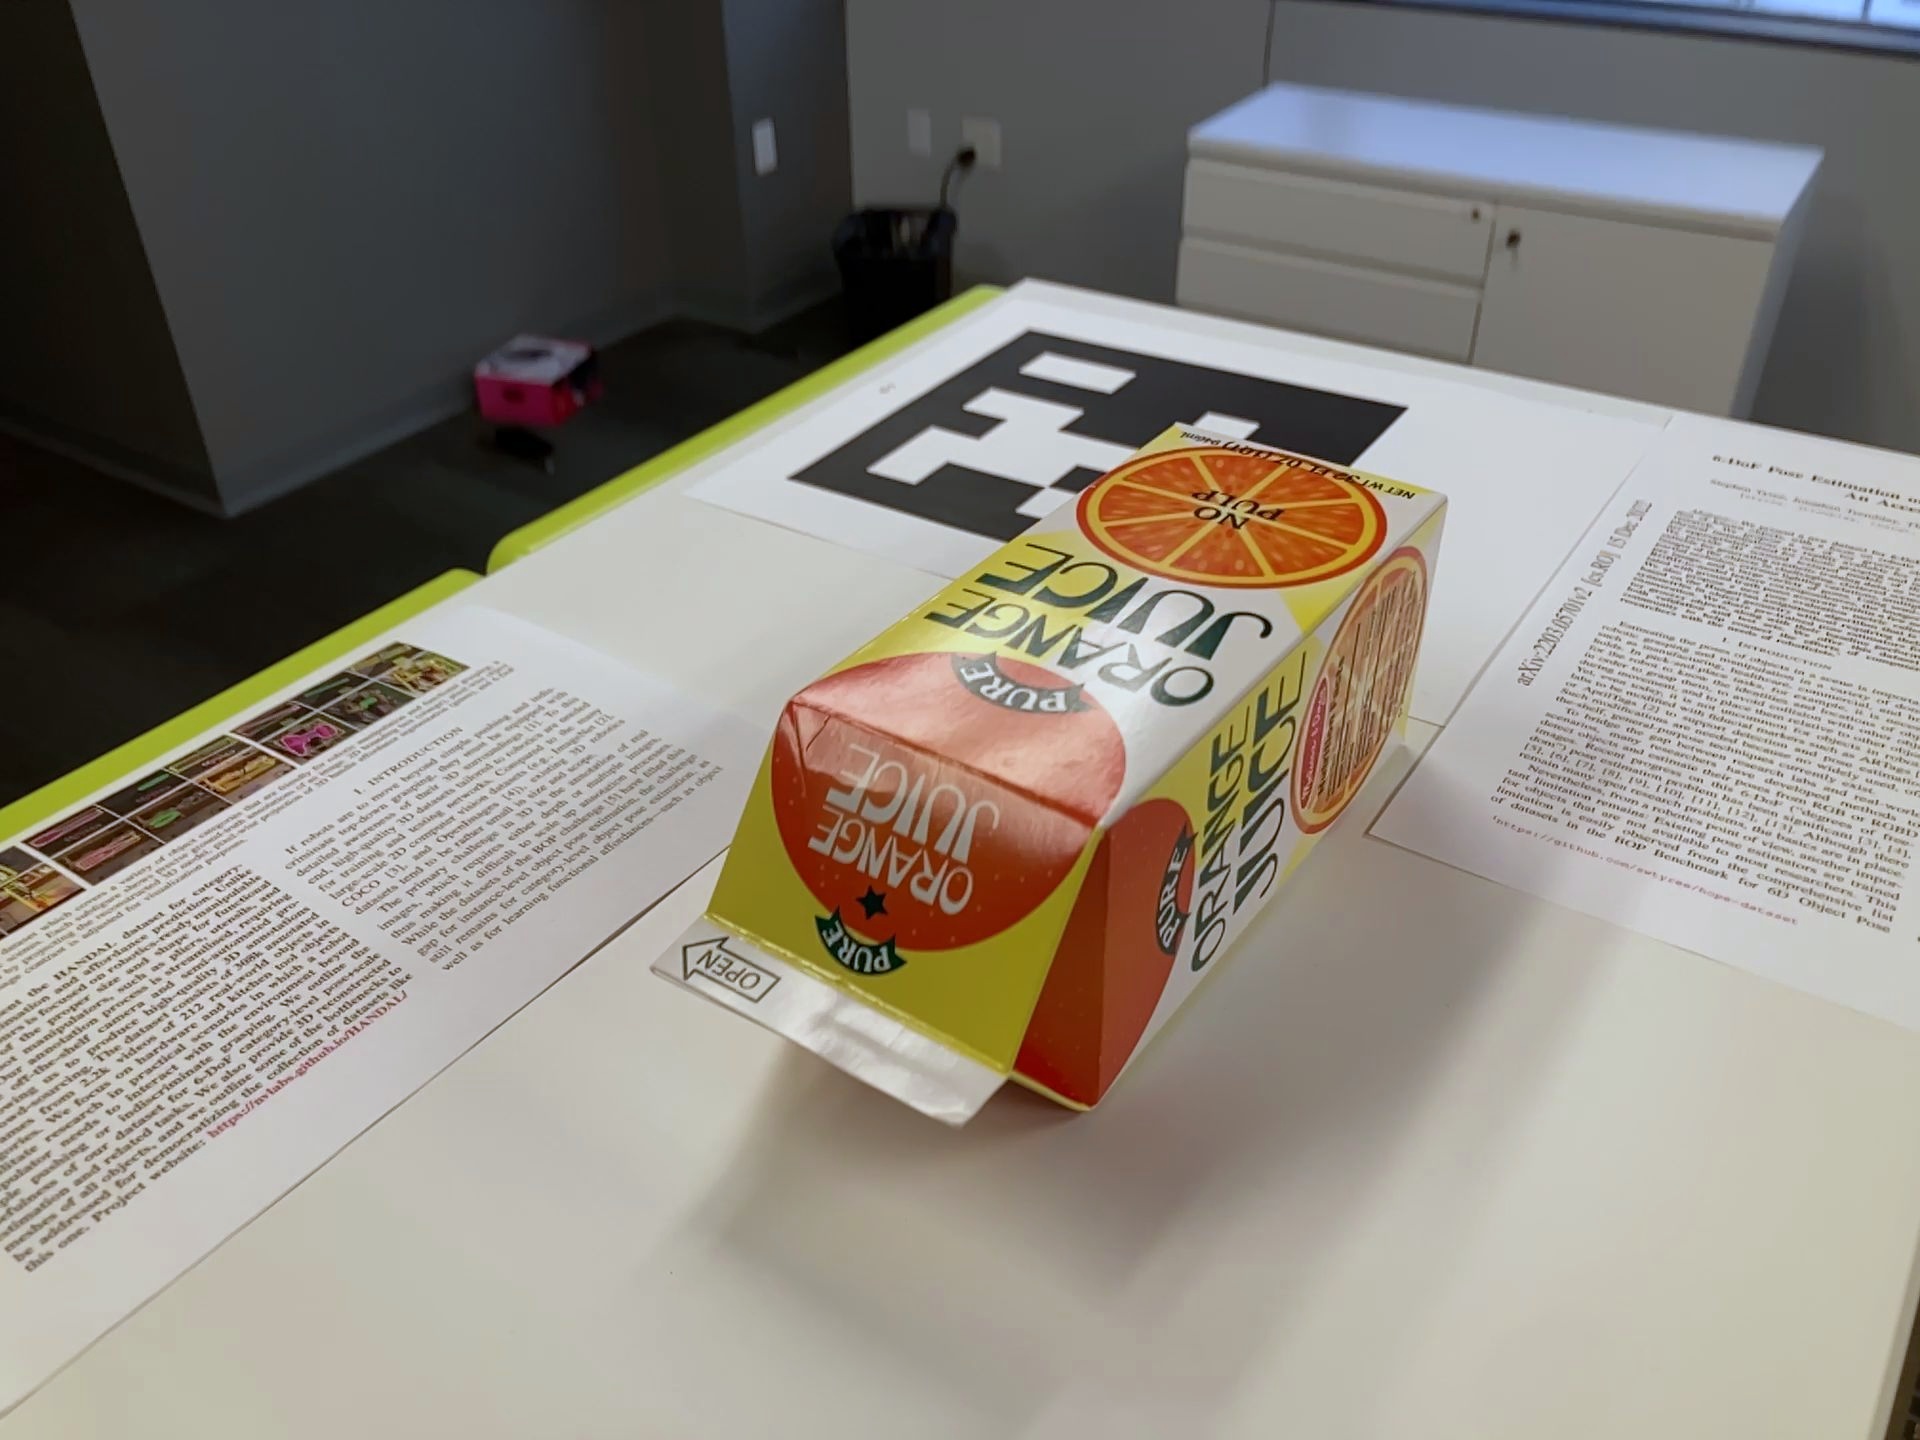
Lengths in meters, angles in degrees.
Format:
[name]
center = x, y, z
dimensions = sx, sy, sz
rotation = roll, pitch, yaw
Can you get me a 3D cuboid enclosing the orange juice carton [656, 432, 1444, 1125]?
[orange juice carton]
center = 0.028, 0.011, 0.339
dimensions = 0.072, 0.073, 0.192
rotation = 22, 41, 29
